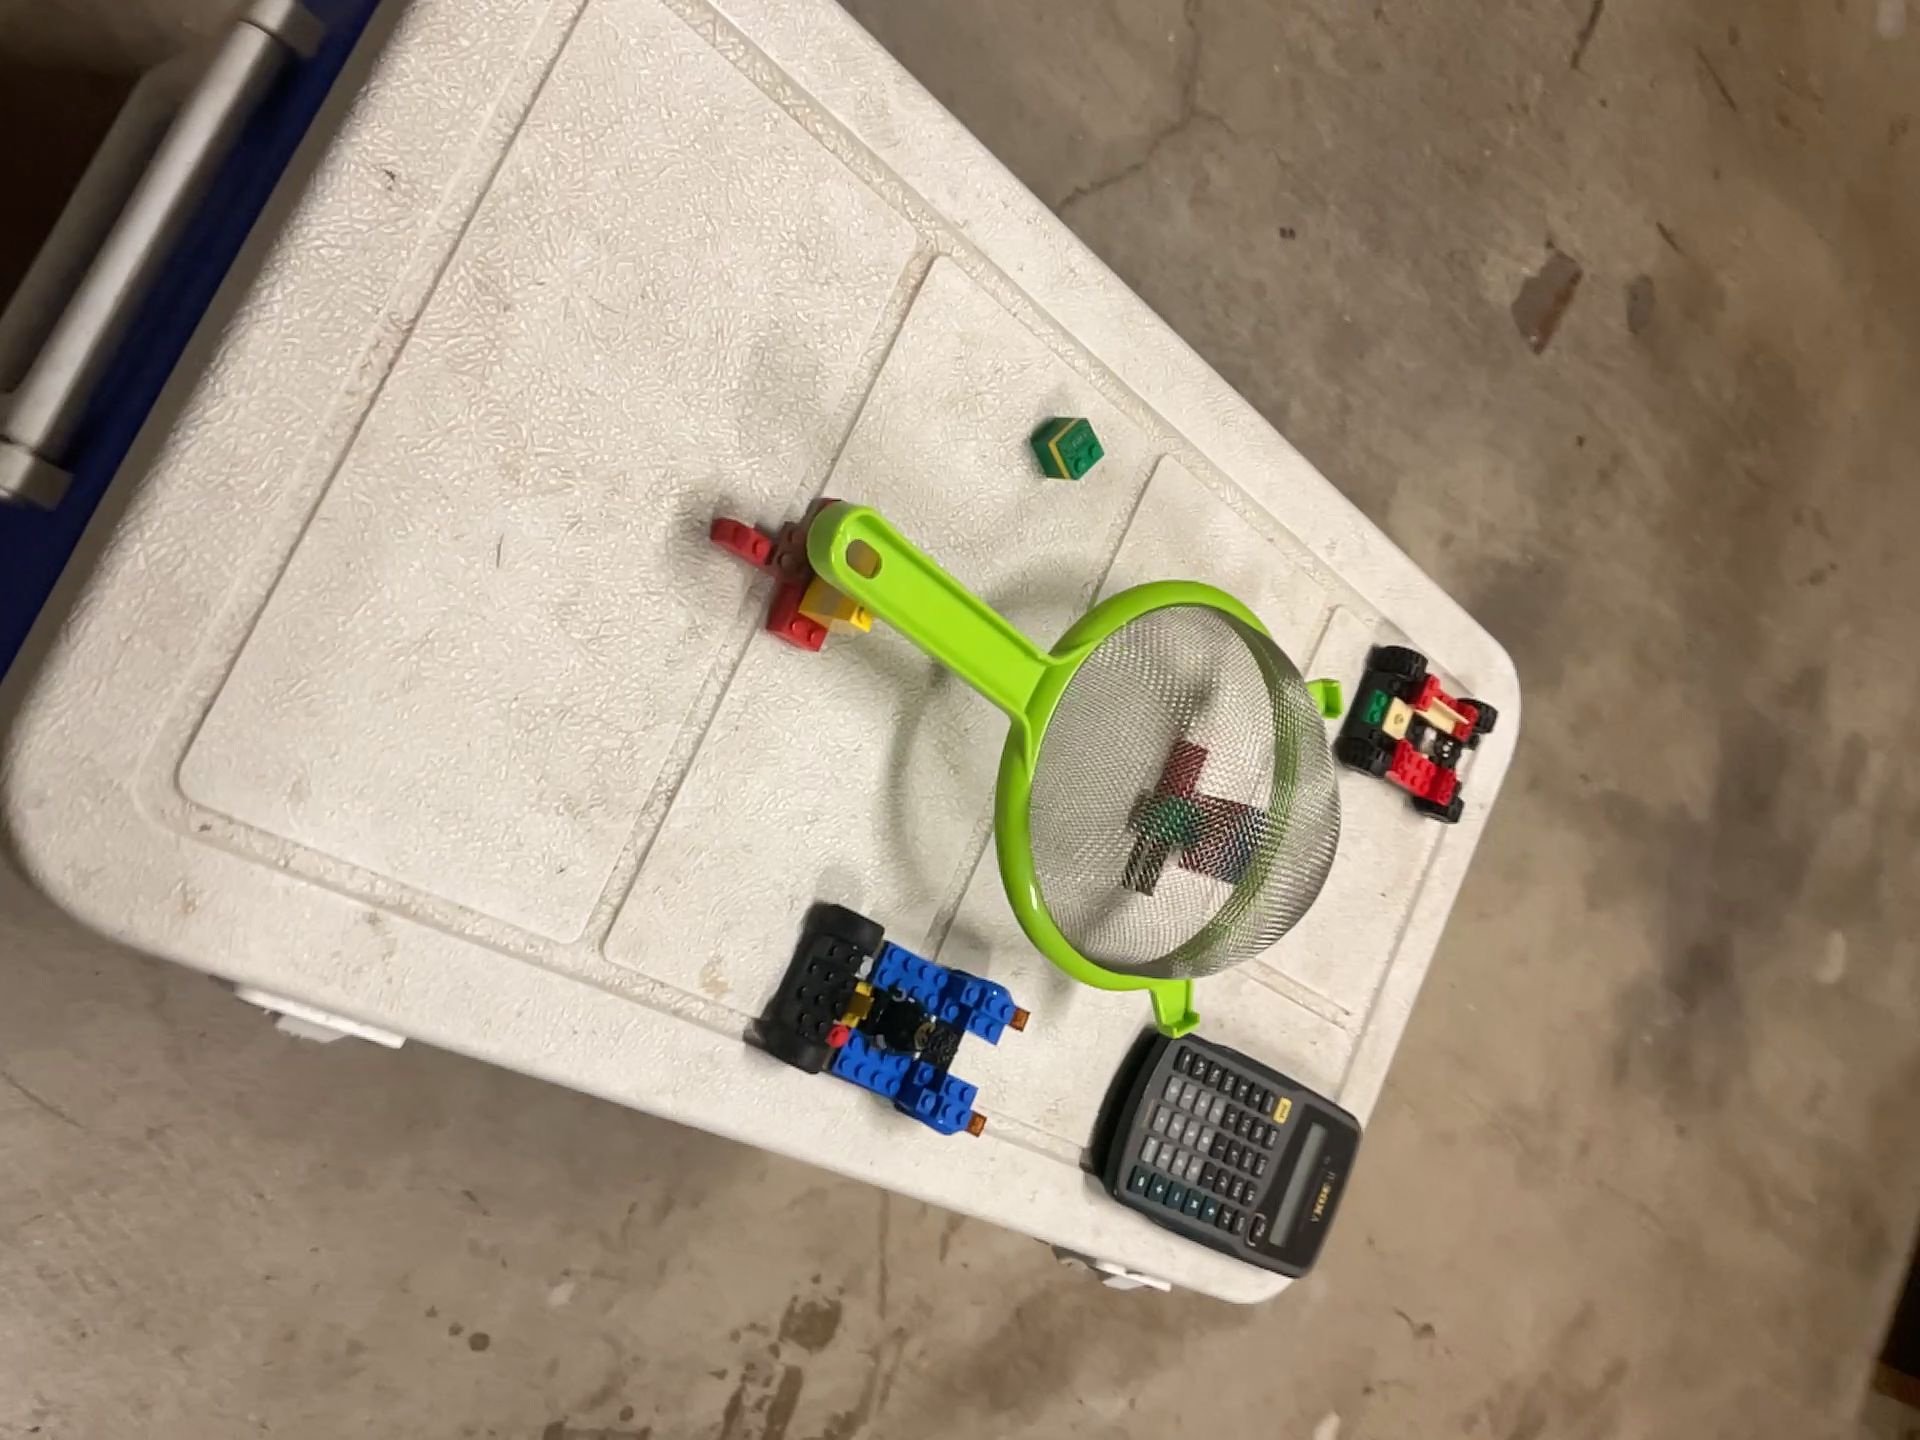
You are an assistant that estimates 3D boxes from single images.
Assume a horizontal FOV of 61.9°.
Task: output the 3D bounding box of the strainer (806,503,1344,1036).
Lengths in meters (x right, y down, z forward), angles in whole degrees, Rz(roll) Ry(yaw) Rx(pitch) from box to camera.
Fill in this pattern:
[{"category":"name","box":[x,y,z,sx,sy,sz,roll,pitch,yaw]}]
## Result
[{"category":"strainer","box":[0.055,0.005,0.525,0.256,0.069,0.151,36,77,-40]}]
